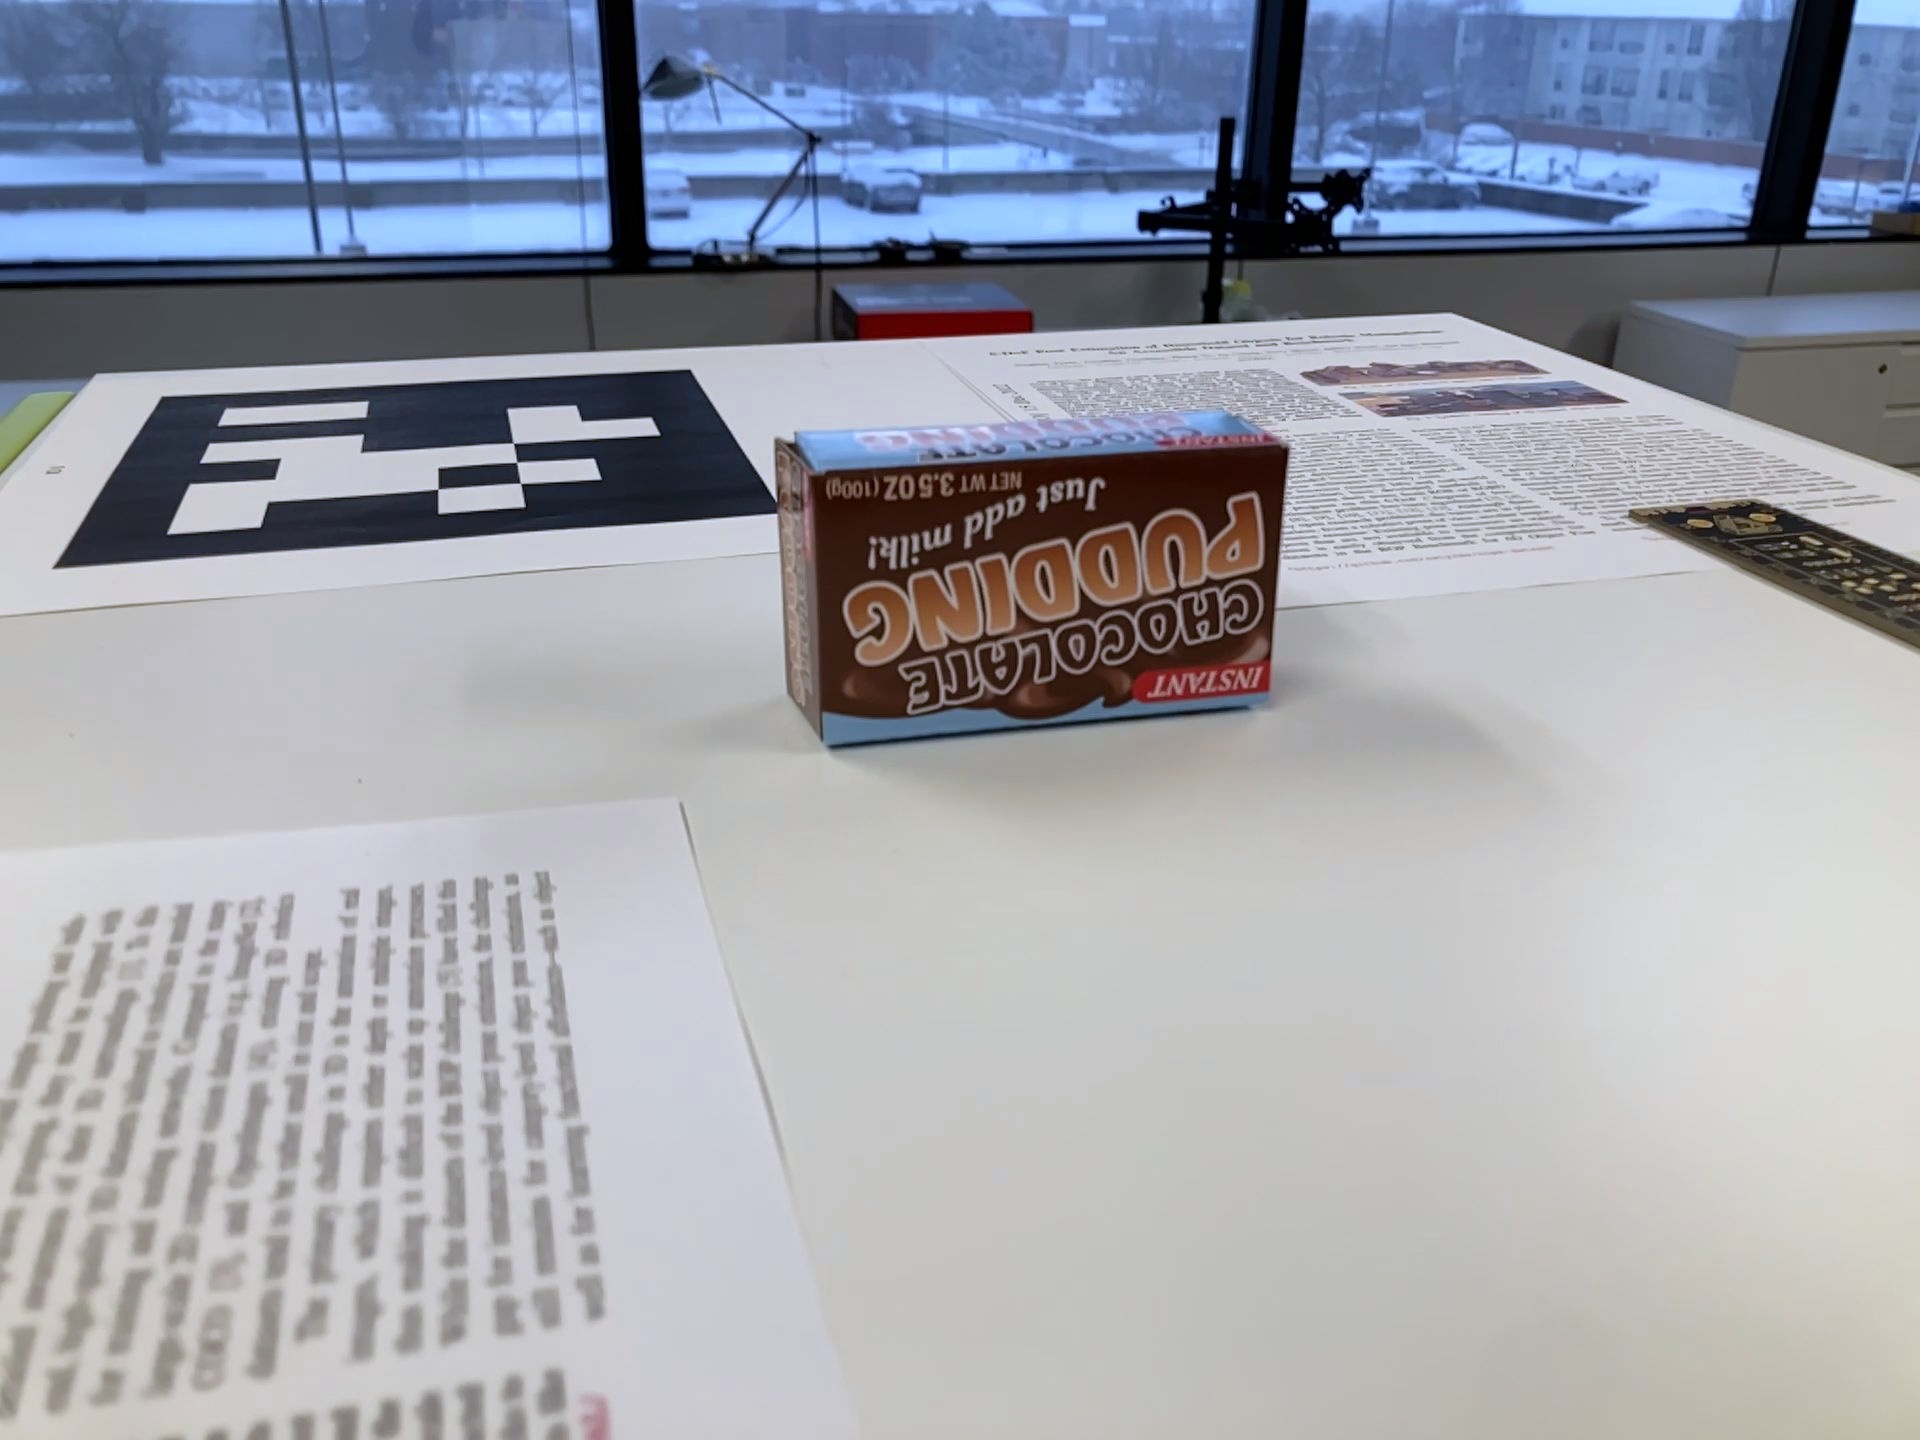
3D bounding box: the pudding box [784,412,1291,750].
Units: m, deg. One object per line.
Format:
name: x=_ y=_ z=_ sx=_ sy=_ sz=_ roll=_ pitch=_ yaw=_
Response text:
pudding box: x=0.013 y=-0.026 z=0.280 sx=0.083 sy=0.049 sz=0.030 roll=-5 pitch=23 yaw=-13
